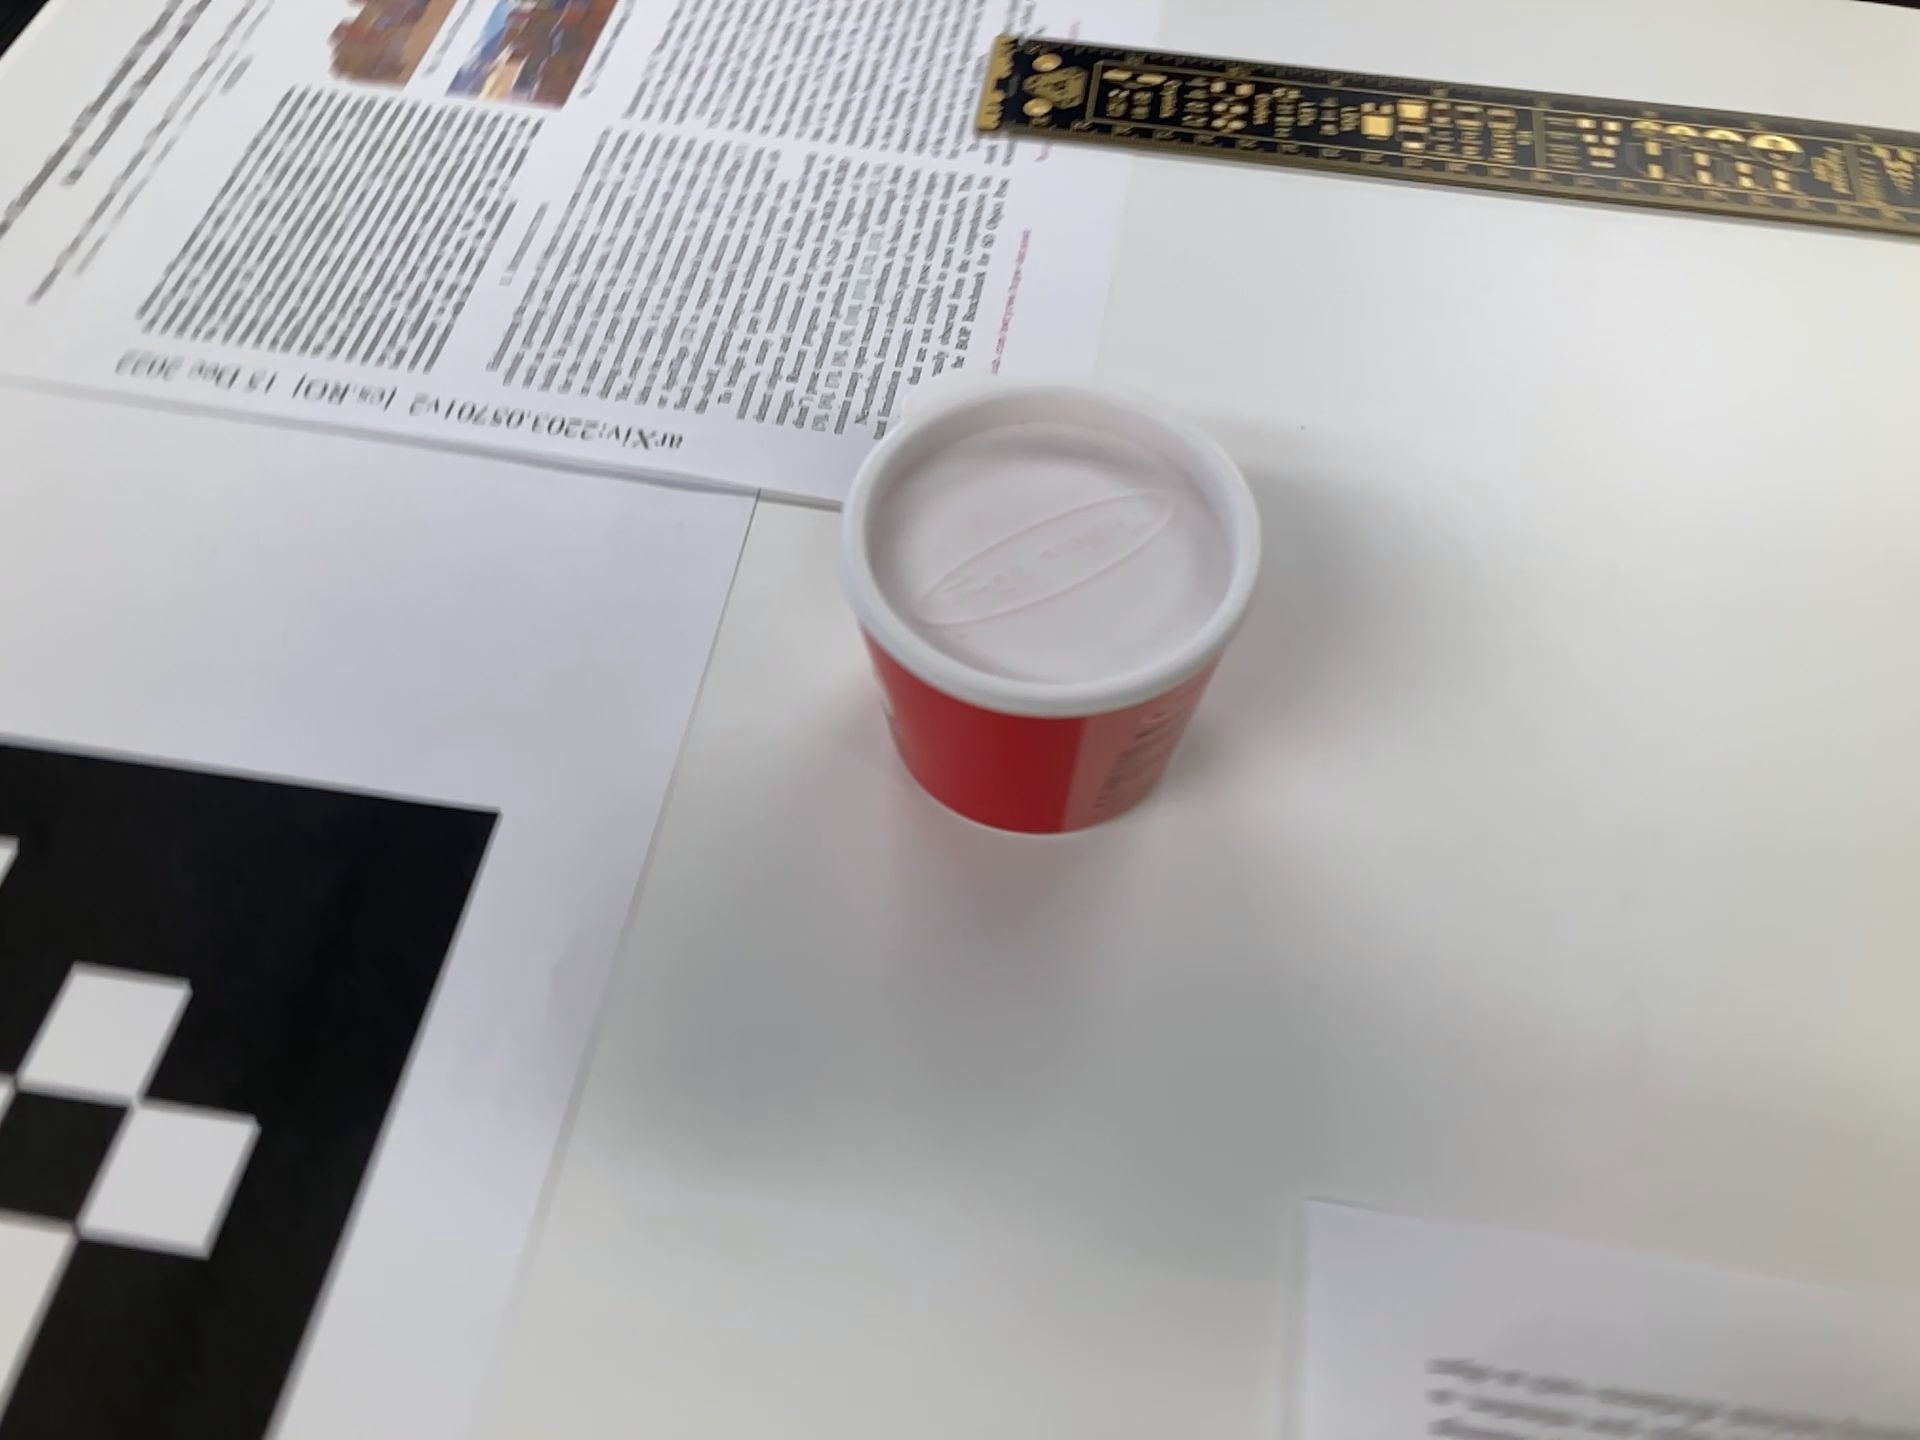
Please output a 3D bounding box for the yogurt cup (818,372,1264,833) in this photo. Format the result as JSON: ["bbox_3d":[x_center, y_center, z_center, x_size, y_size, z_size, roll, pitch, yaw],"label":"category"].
[{"bbox_3d":[0.013,-0.017,0.270,0.072,0.054,0.072,1,58,-1],"label":"yogurt cup"}]
